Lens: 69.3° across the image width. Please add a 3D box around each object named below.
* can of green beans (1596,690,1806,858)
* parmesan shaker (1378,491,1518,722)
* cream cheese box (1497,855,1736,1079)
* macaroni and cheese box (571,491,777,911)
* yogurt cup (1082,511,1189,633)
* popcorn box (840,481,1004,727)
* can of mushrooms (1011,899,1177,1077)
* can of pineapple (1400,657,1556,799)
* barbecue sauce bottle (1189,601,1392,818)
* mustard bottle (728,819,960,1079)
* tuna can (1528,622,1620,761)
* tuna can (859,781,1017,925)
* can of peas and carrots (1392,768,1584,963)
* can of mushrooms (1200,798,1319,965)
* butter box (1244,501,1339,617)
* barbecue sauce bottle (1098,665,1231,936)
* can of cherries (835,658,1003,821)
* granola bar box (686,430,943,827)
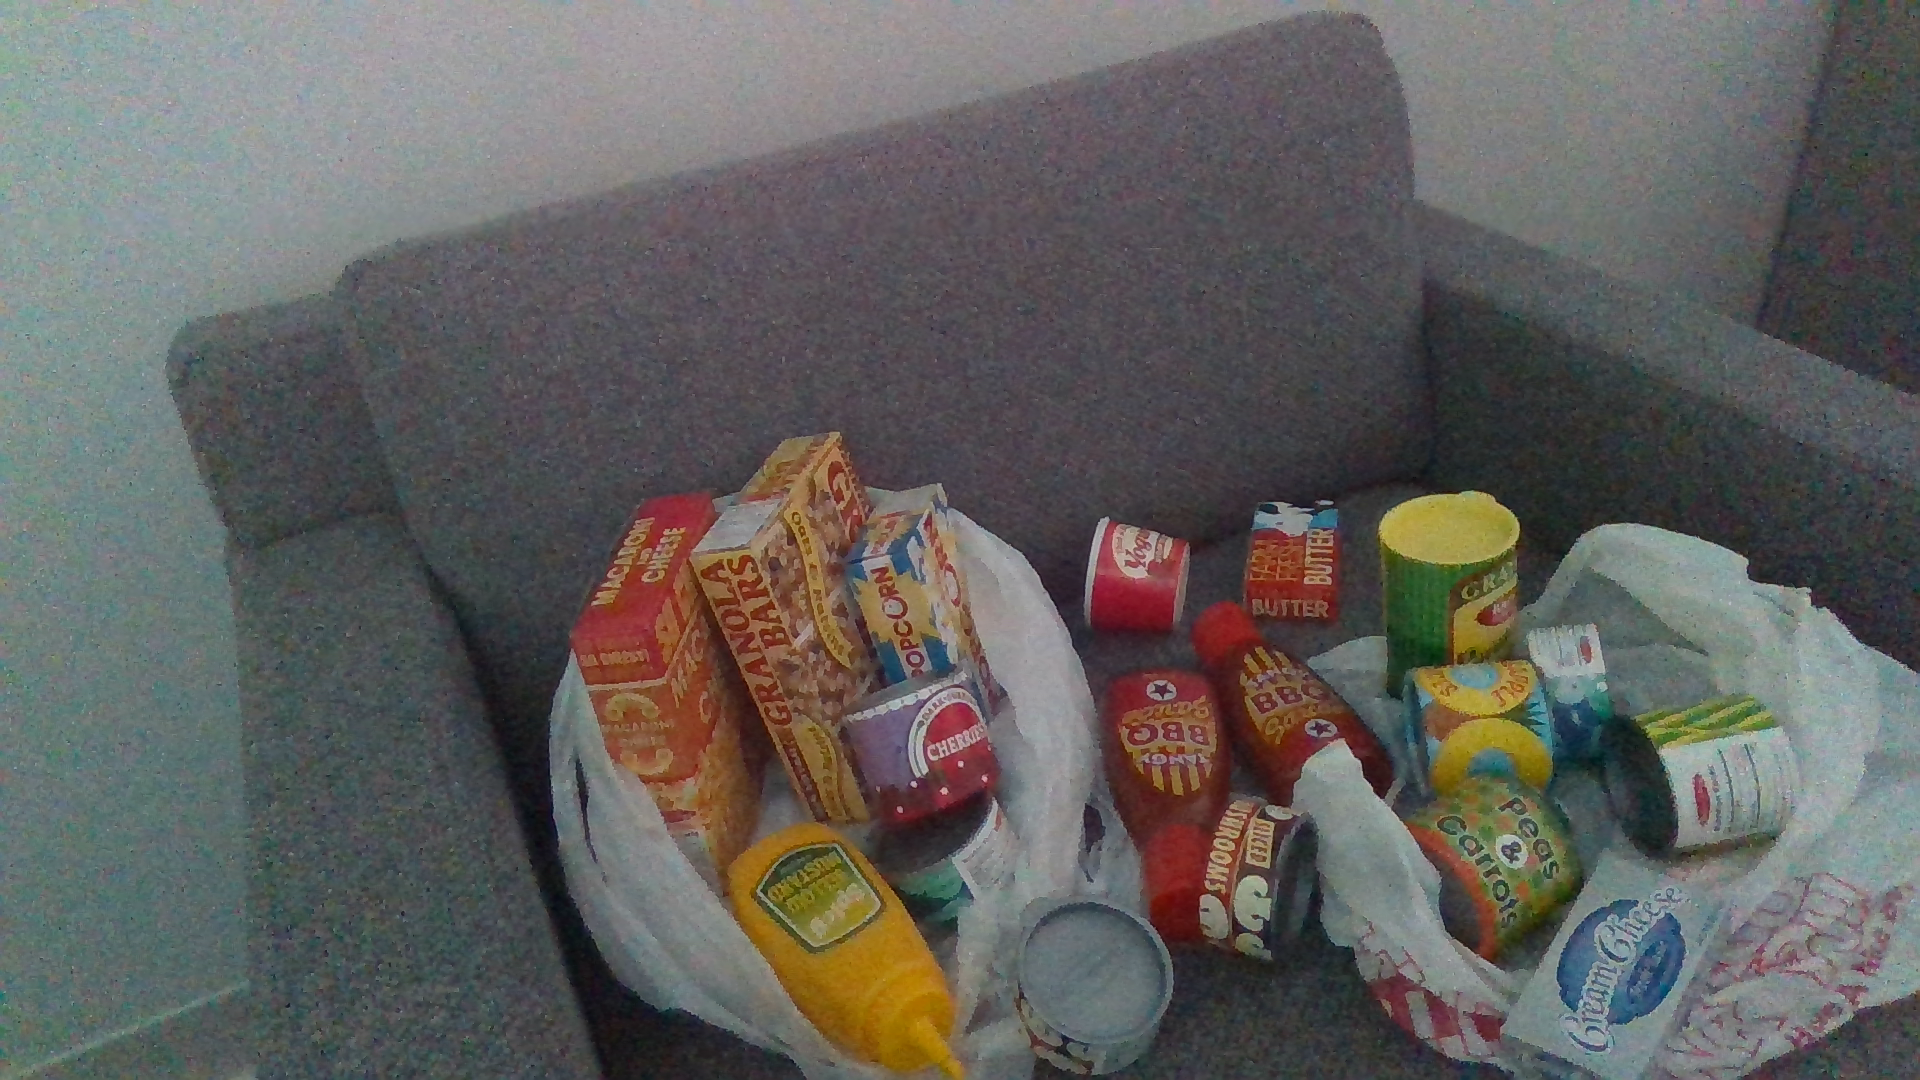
[{"bbox_3d":[0.333,0.104,0.625,0.058,0.071,0.071,-10,31,-1],"label":"can of green beans"},{"bbox_3d":[0.256,0.036,0.722,0.071,0.102,0.071,-9,29,6],"label":"parmesan shaker"},{"bbox_3d":[0.262,0.175,0.552,0.053,0.024,0.104,13,43,44],"label":"cream cheese box"},{"bbox_3d":[-0.135,0.079,0.680,0.040,0.165,0.124,-6,29,7],"label":"macaroni and cheese box"},{"bbox_3d":[0.104,0.024,0.817,0.054,0.072,0.073,8,34,12],"label":"yogurt cup"},{"bbox_3d":[-0.014,0.044,0.736,0.038,0.126,0.085,-12,21,20],"label":"popcorn box"},{"bbox_3d":[0.054,0.187,0.585,0.071,0.033,0.071,4,42,-4],"label":"can of mushrooms"},{"bbox_3d":[0.249,0.090,0.672,0.058,0.070,0.071,-5,31,7],"label":"can of pineapple"},{"bbox_3d":[0.163,0.085,0.728,0.065,0.043,0.149,-8,30,-11],"label":"barbecue sauce bottle"},{"bbox_3d":[-0.043,0.182,0.603,0.065,0.048,0.160,-28,35,-24],"label":"mustard bottle"},{"bbox_3d":[0.301,0.077,0.683,0.033,0.070,0.071,-9,30,20],"label":"tuna can"},{"bbox_3d":[-0.011,0.146,0.651,0.071,0.032,0.071,-24,20,10],"label":"tuna can"},{"bbox_3d":[0.223,0.140,0.598,0.059,0.070,0.071,-23,34,-22],"label":"can of peas and carrots"},{"bbox_3d":[0.131,0.147,0.606,0.033,0.070,0.071,9,35,30],"label":"can of mushrooms"},{"bbox_3d":[0.204,0.011,0.852,0.053,0.024,0.104,-1,30,17],"label":"butter box"},{"bbox_3d":[0.103,0.123,0.676,0.065,0.043,0.149,0,34,1],"label":"barbecue sauce bottle"},{"bbox_3d":[-0.018,0.095,0.668,0.071,0.058,0.071,-20,3,1],"label":"can of cherries"},{"bbox_3d":[-0.067,0.043,0.718,0.039,0.165,0.125,-10,26,23],"label":"granola bar box"}]
